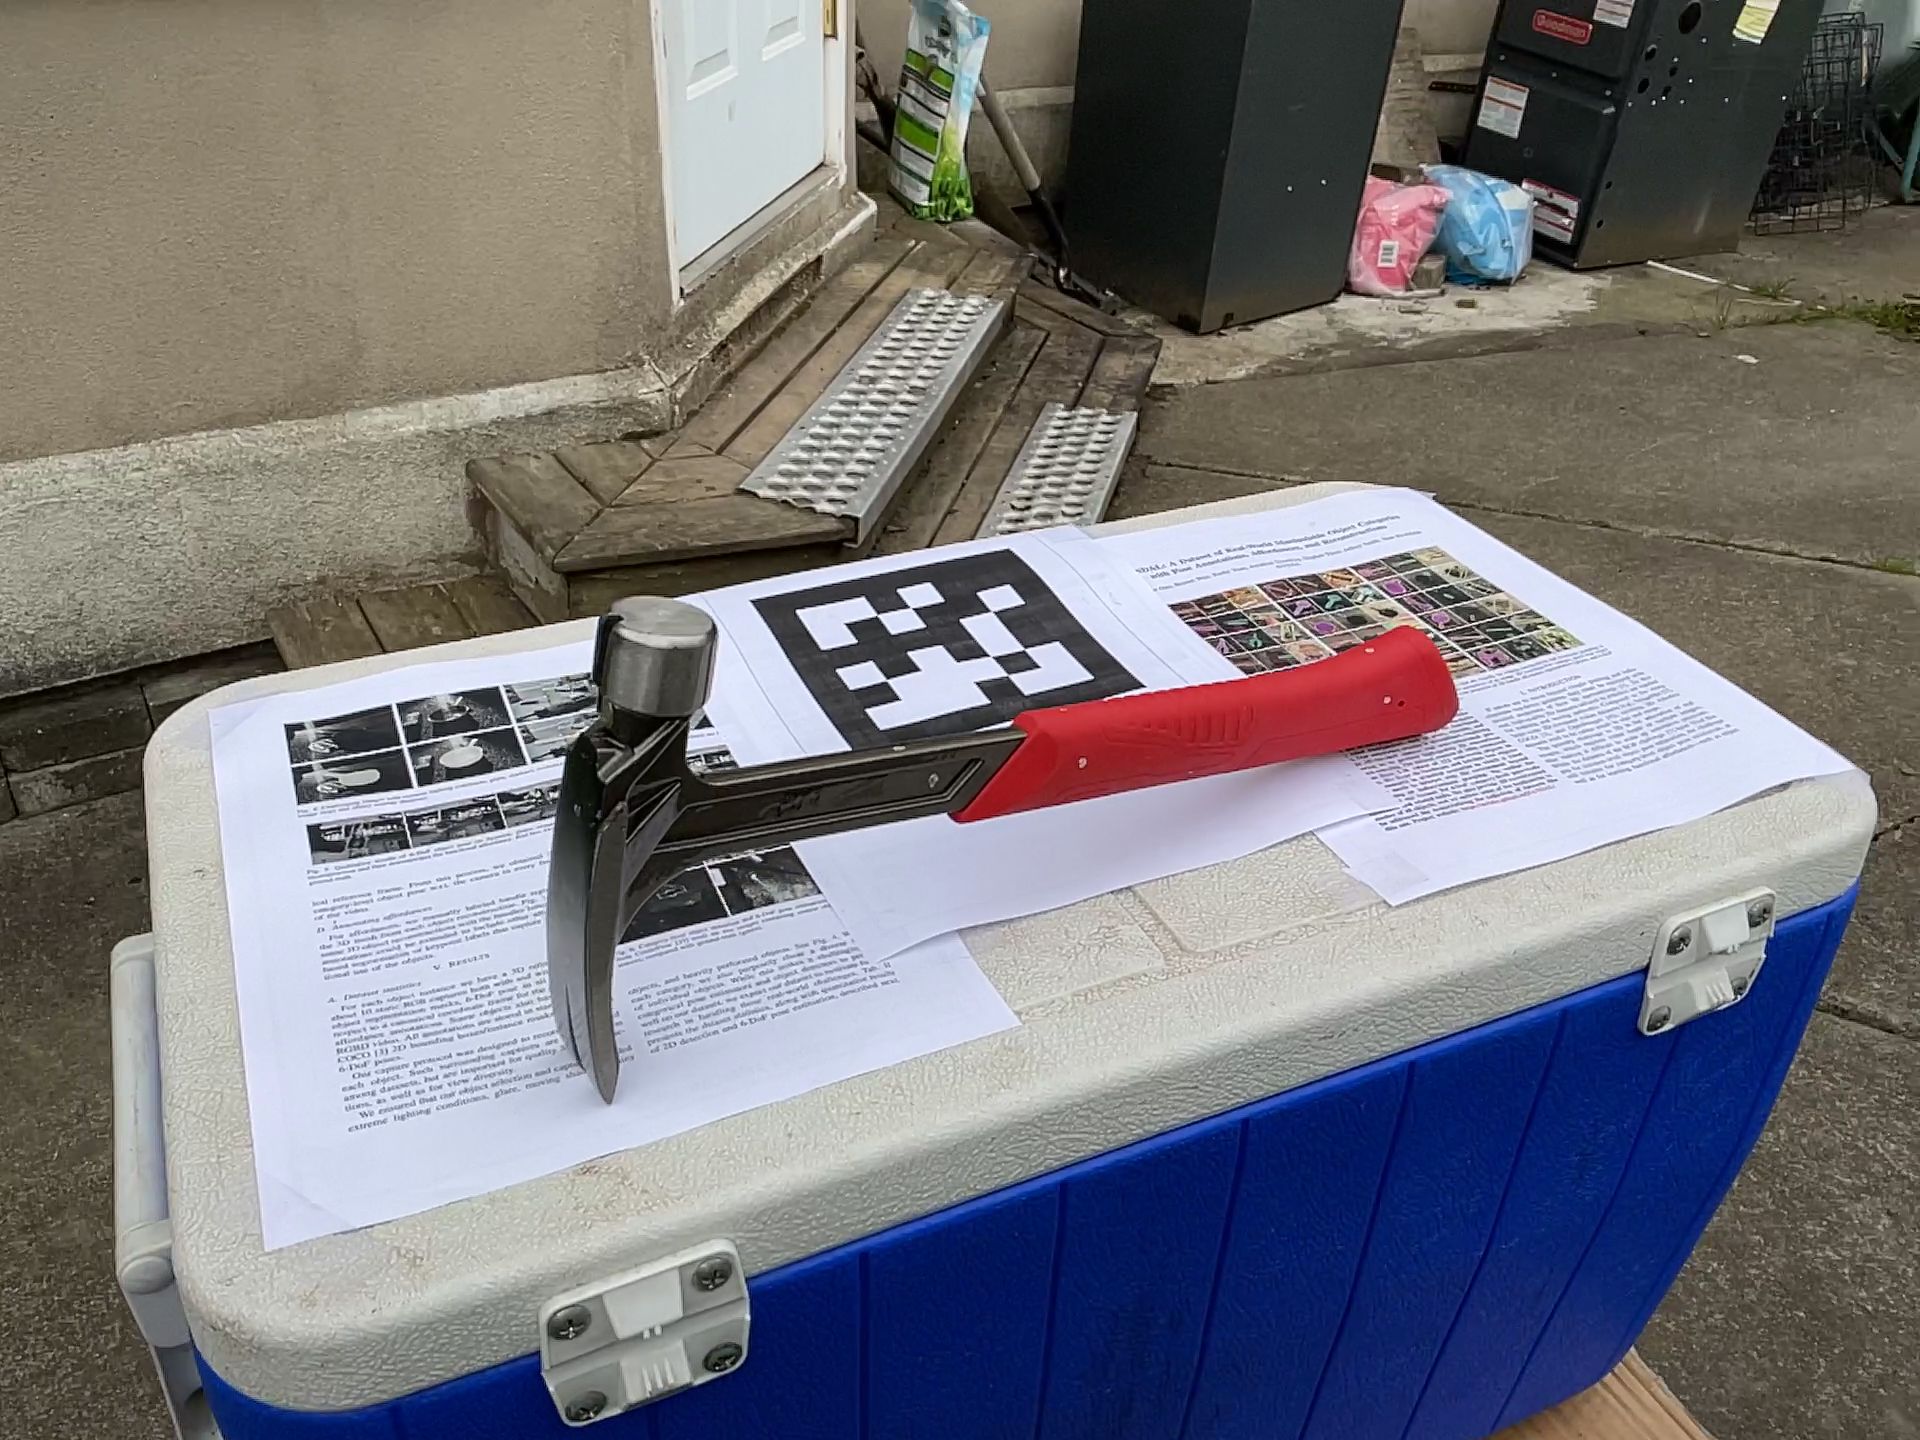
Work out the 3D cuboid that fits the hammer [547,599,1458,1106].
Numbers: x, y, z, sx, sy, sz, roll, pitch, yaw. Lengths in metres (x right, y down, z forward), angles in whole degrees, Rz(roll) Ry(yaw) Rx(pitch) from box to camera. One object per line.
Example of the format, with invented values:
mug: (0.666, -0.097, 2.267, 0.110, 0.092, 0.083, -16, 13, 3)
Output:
hammer: (0.038, 0.021, 0.537, 0.359, 0.149, 0.037, -8, 31, -36)
